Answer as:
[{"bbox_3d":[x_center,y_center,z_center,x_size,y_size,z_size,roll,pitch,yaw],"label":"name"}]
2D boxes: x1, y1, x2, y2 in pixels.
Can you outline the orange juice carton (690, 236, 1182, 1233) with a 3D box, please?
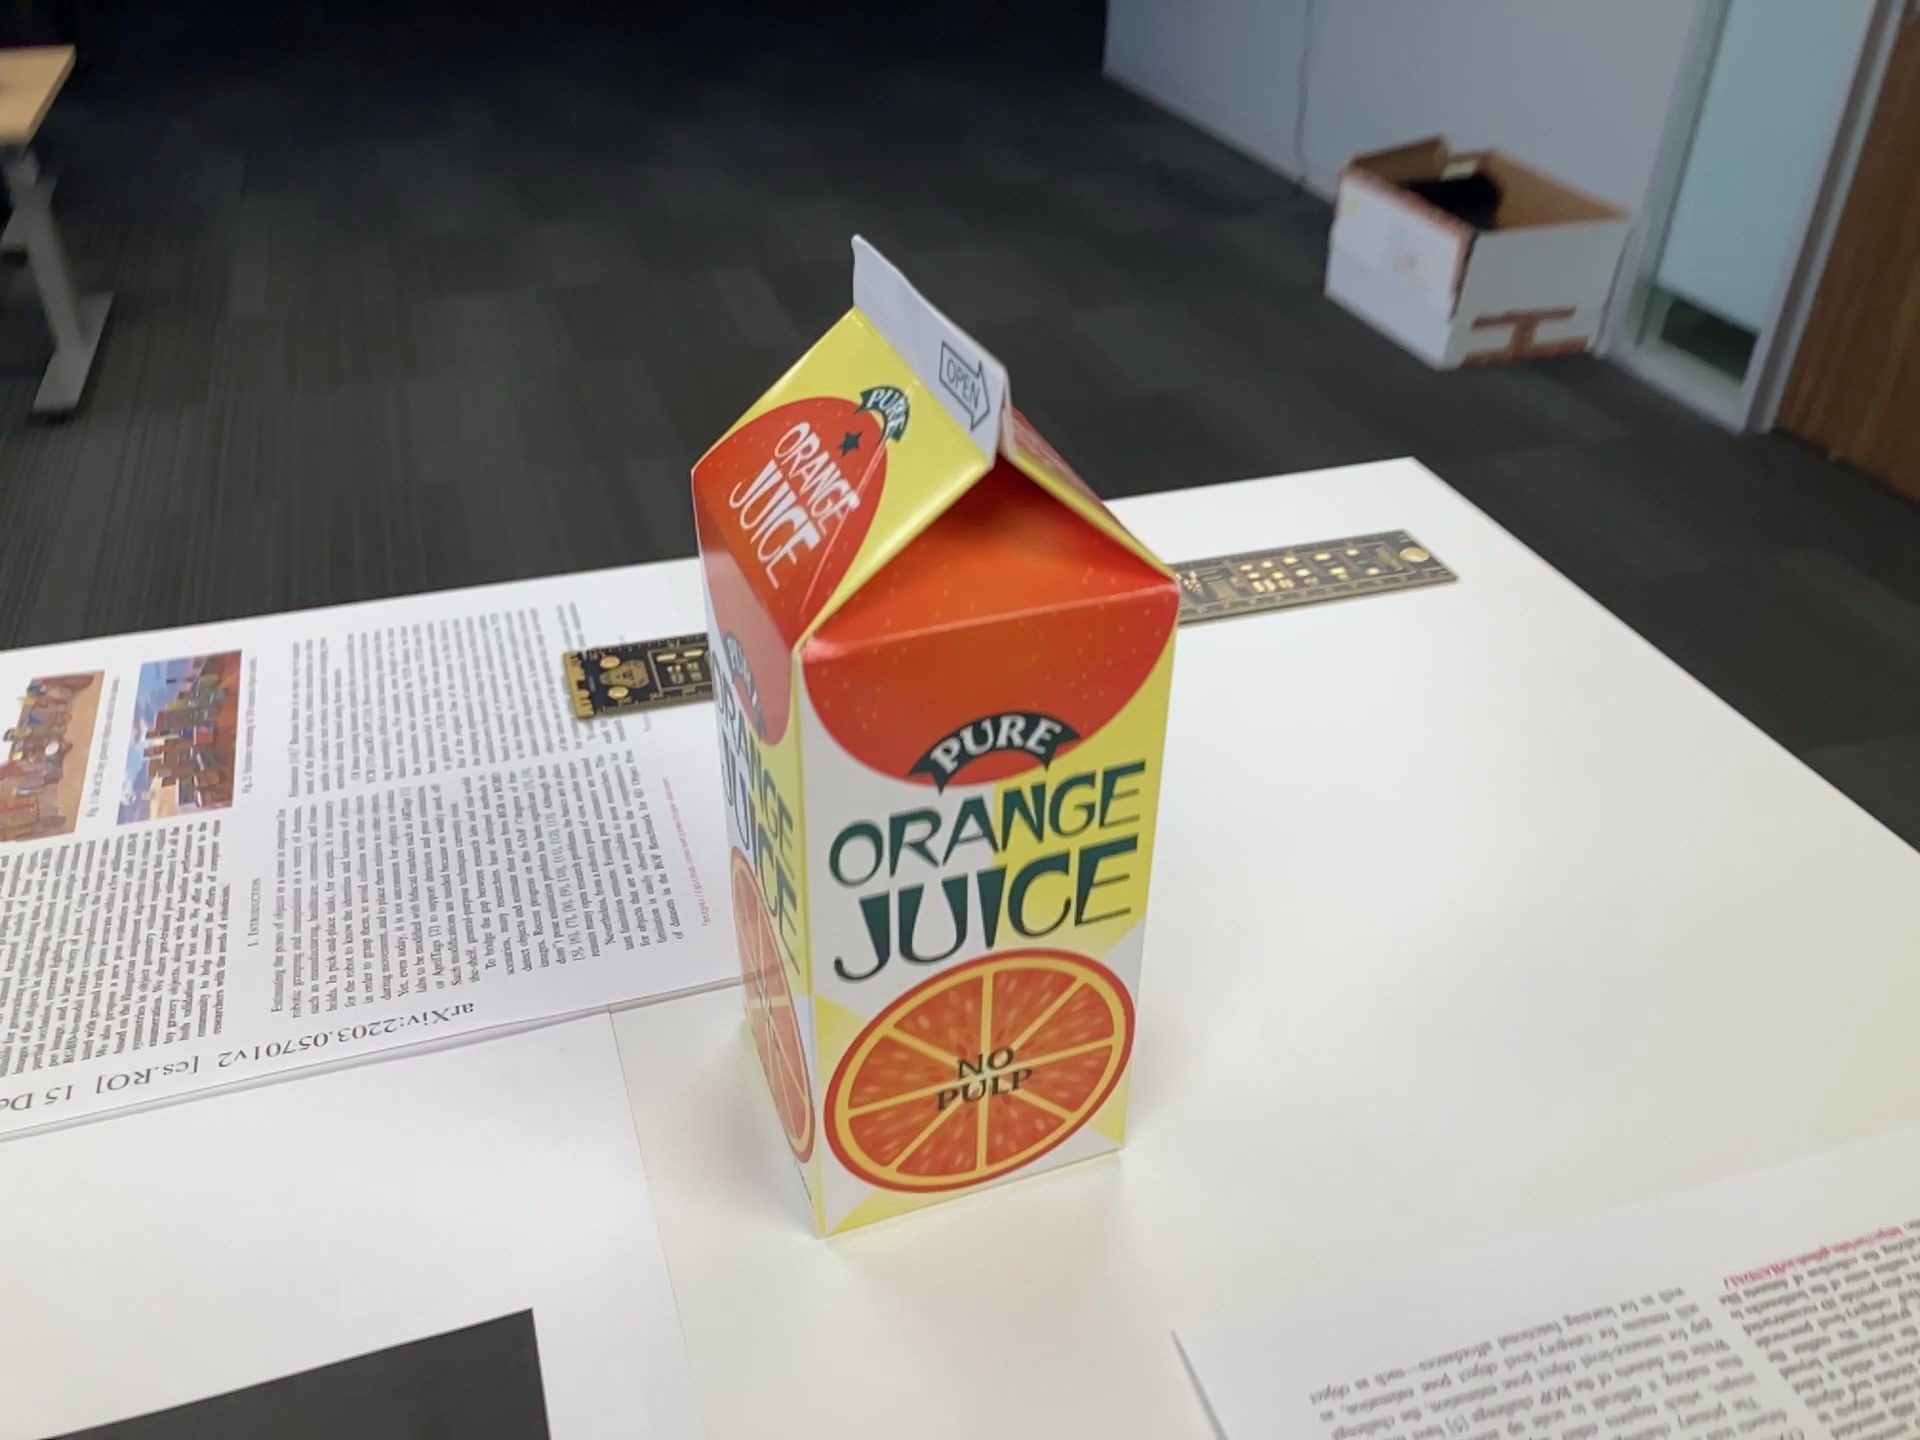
[{"bbox_3d":[-0.007,0.007,0.320,0.073,0.192,0.072,-12,37,-17],"label":"orange juice carton"}]
